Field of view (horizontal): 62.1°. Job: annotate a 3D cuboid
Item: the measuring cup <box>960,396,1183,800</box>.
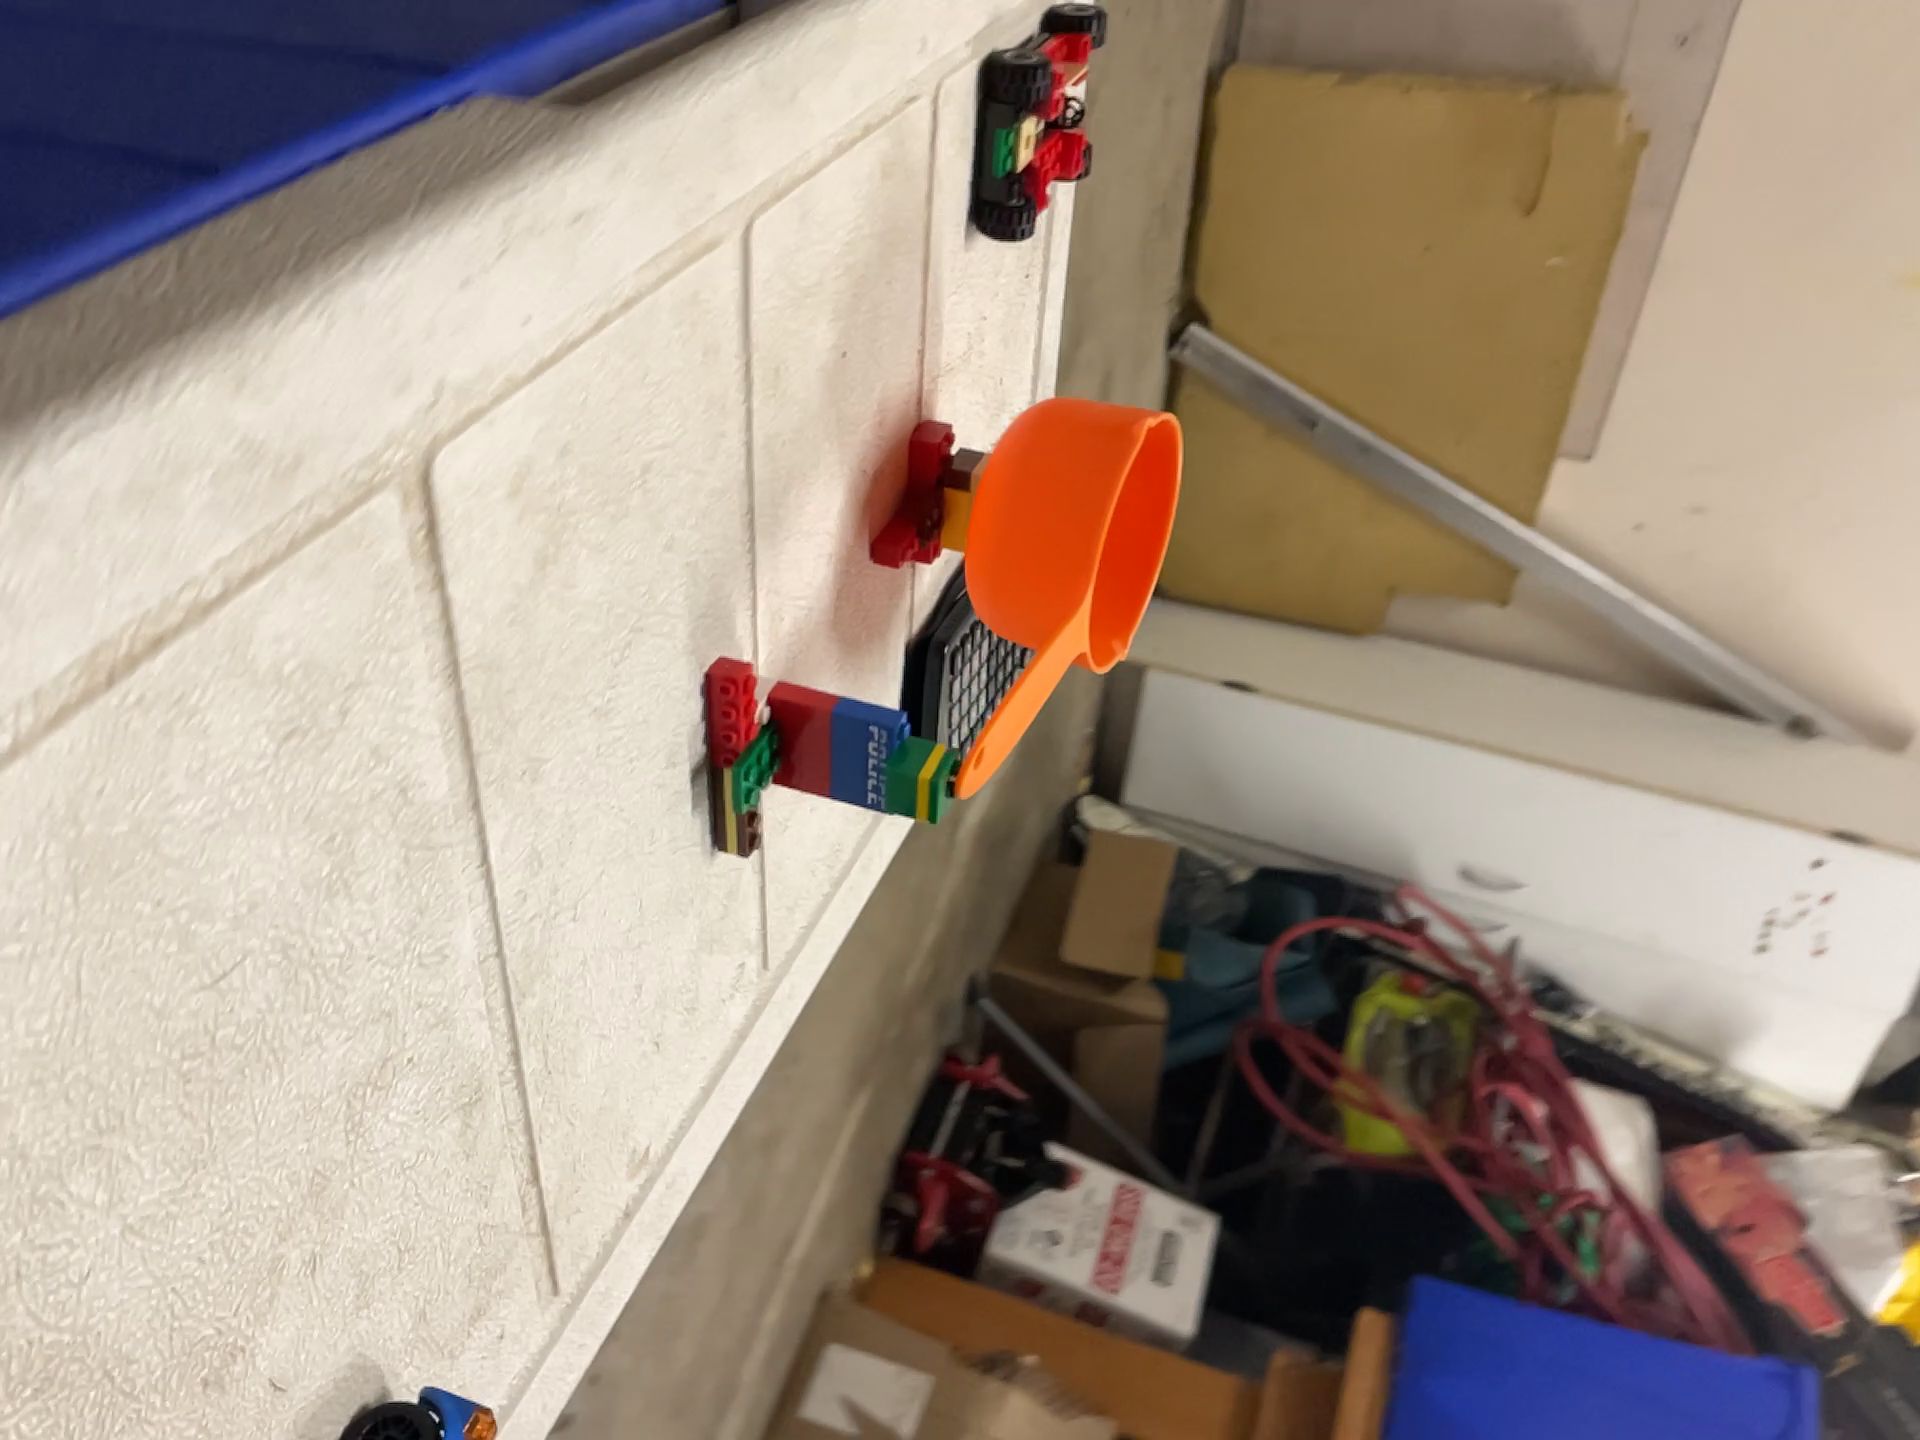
[{"bbox_3d":[0.018,-0.039,0.502,0.174,0.052,0.095,-54,155,-43],"label":"measuring cup"}]
